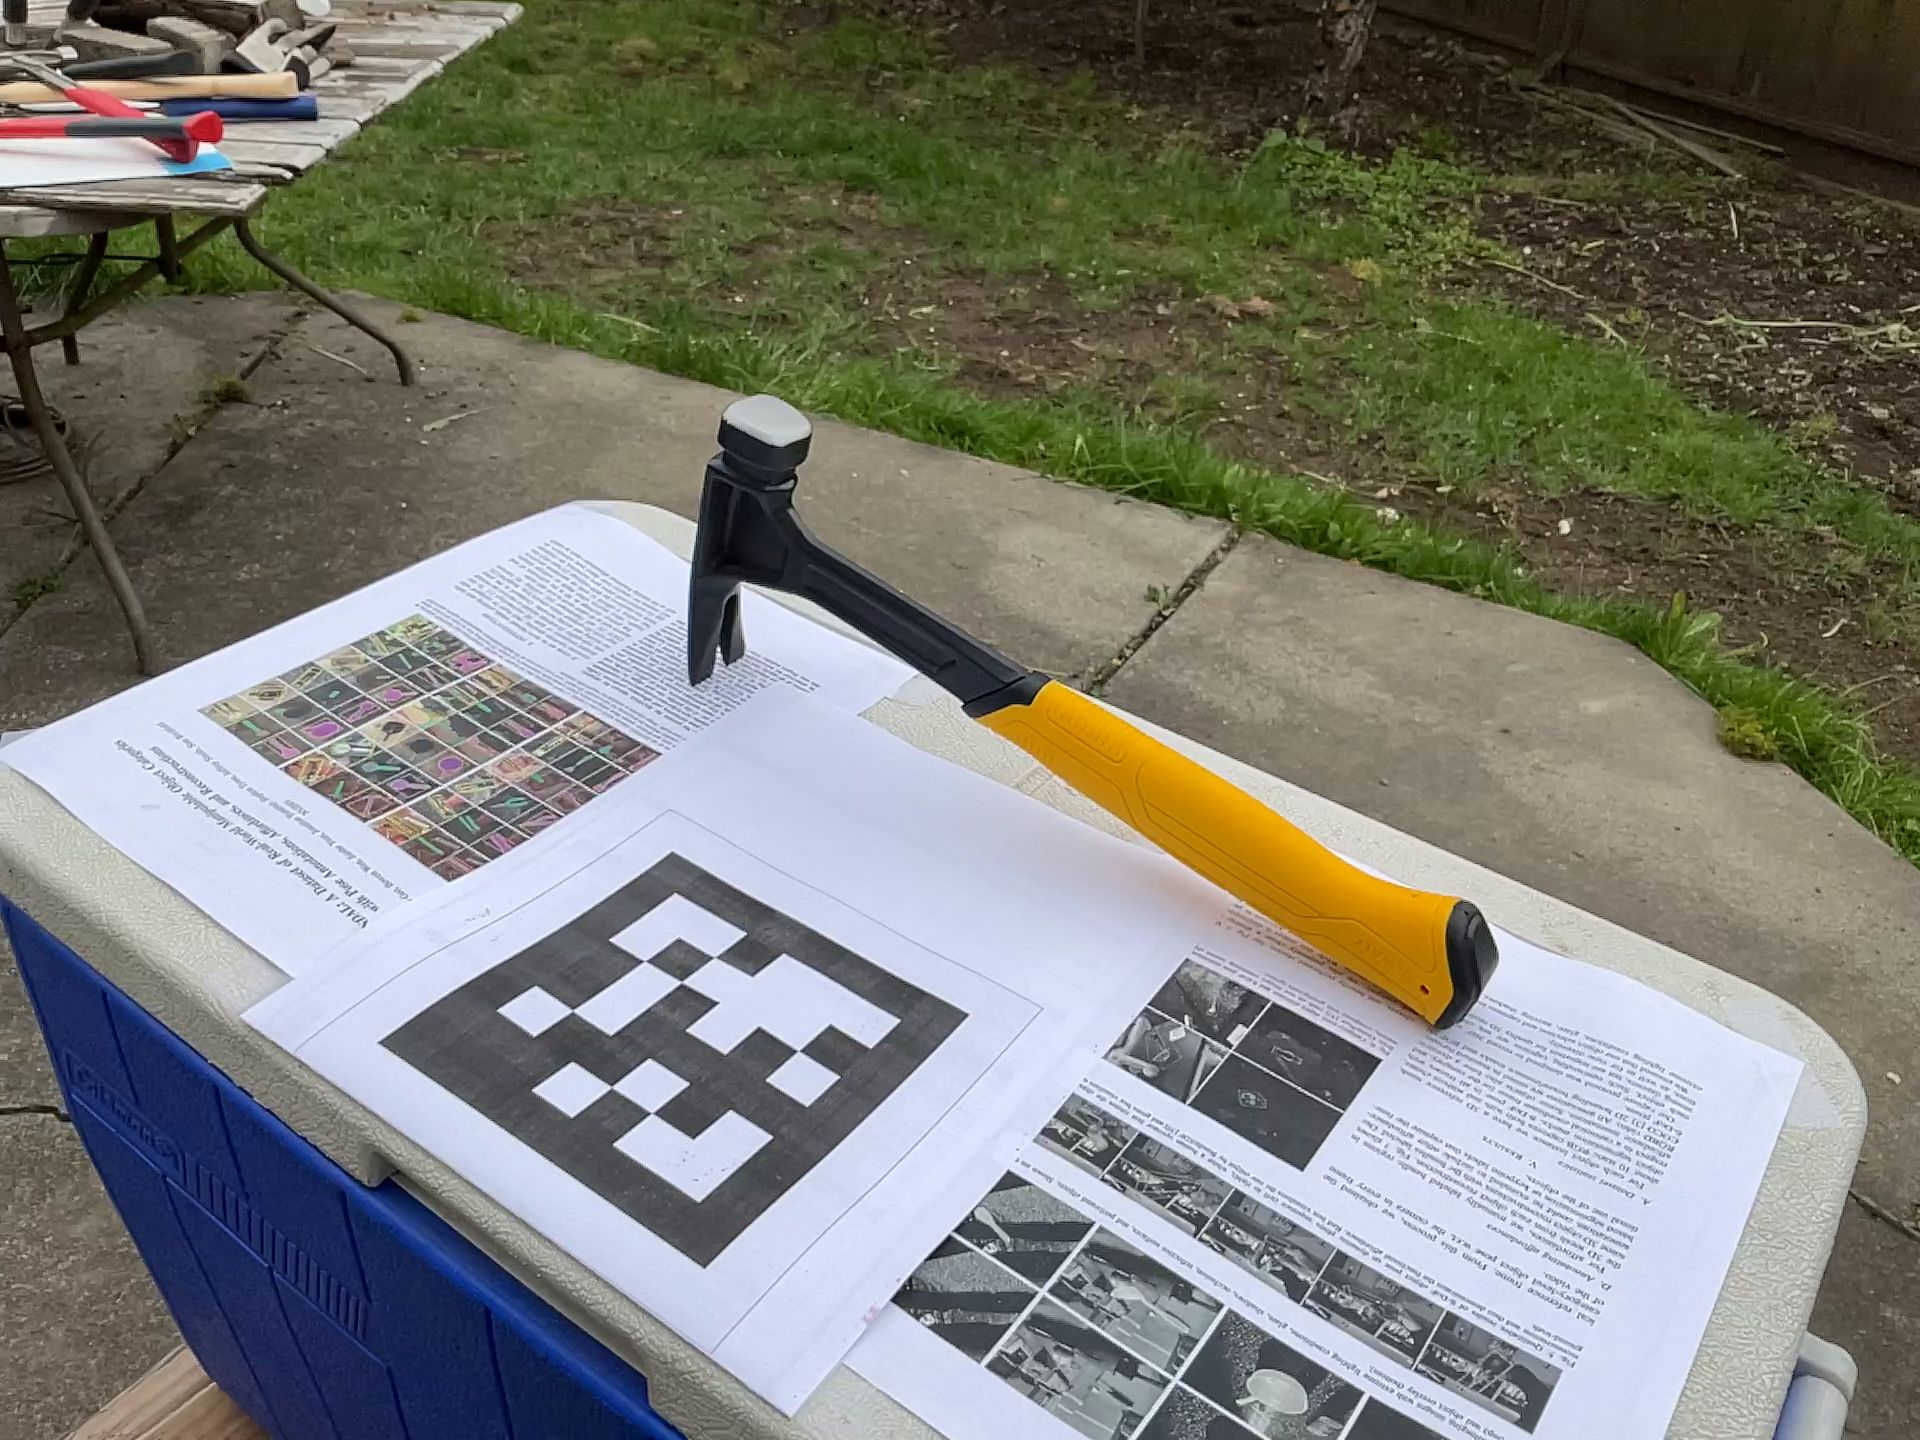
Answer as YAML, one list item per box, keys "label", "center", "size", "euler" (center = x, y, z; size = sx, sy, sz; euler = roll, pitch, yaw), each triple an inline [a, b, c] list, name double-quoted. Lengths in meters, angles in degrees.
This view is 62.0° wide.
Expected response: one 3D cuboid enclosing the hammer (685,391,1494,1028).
- label: "hammer"
  center: [0.033, 0.009, 0.584]
  size: [0.337, 0.127, 0.034]
  euler: [33, 41, 19]
